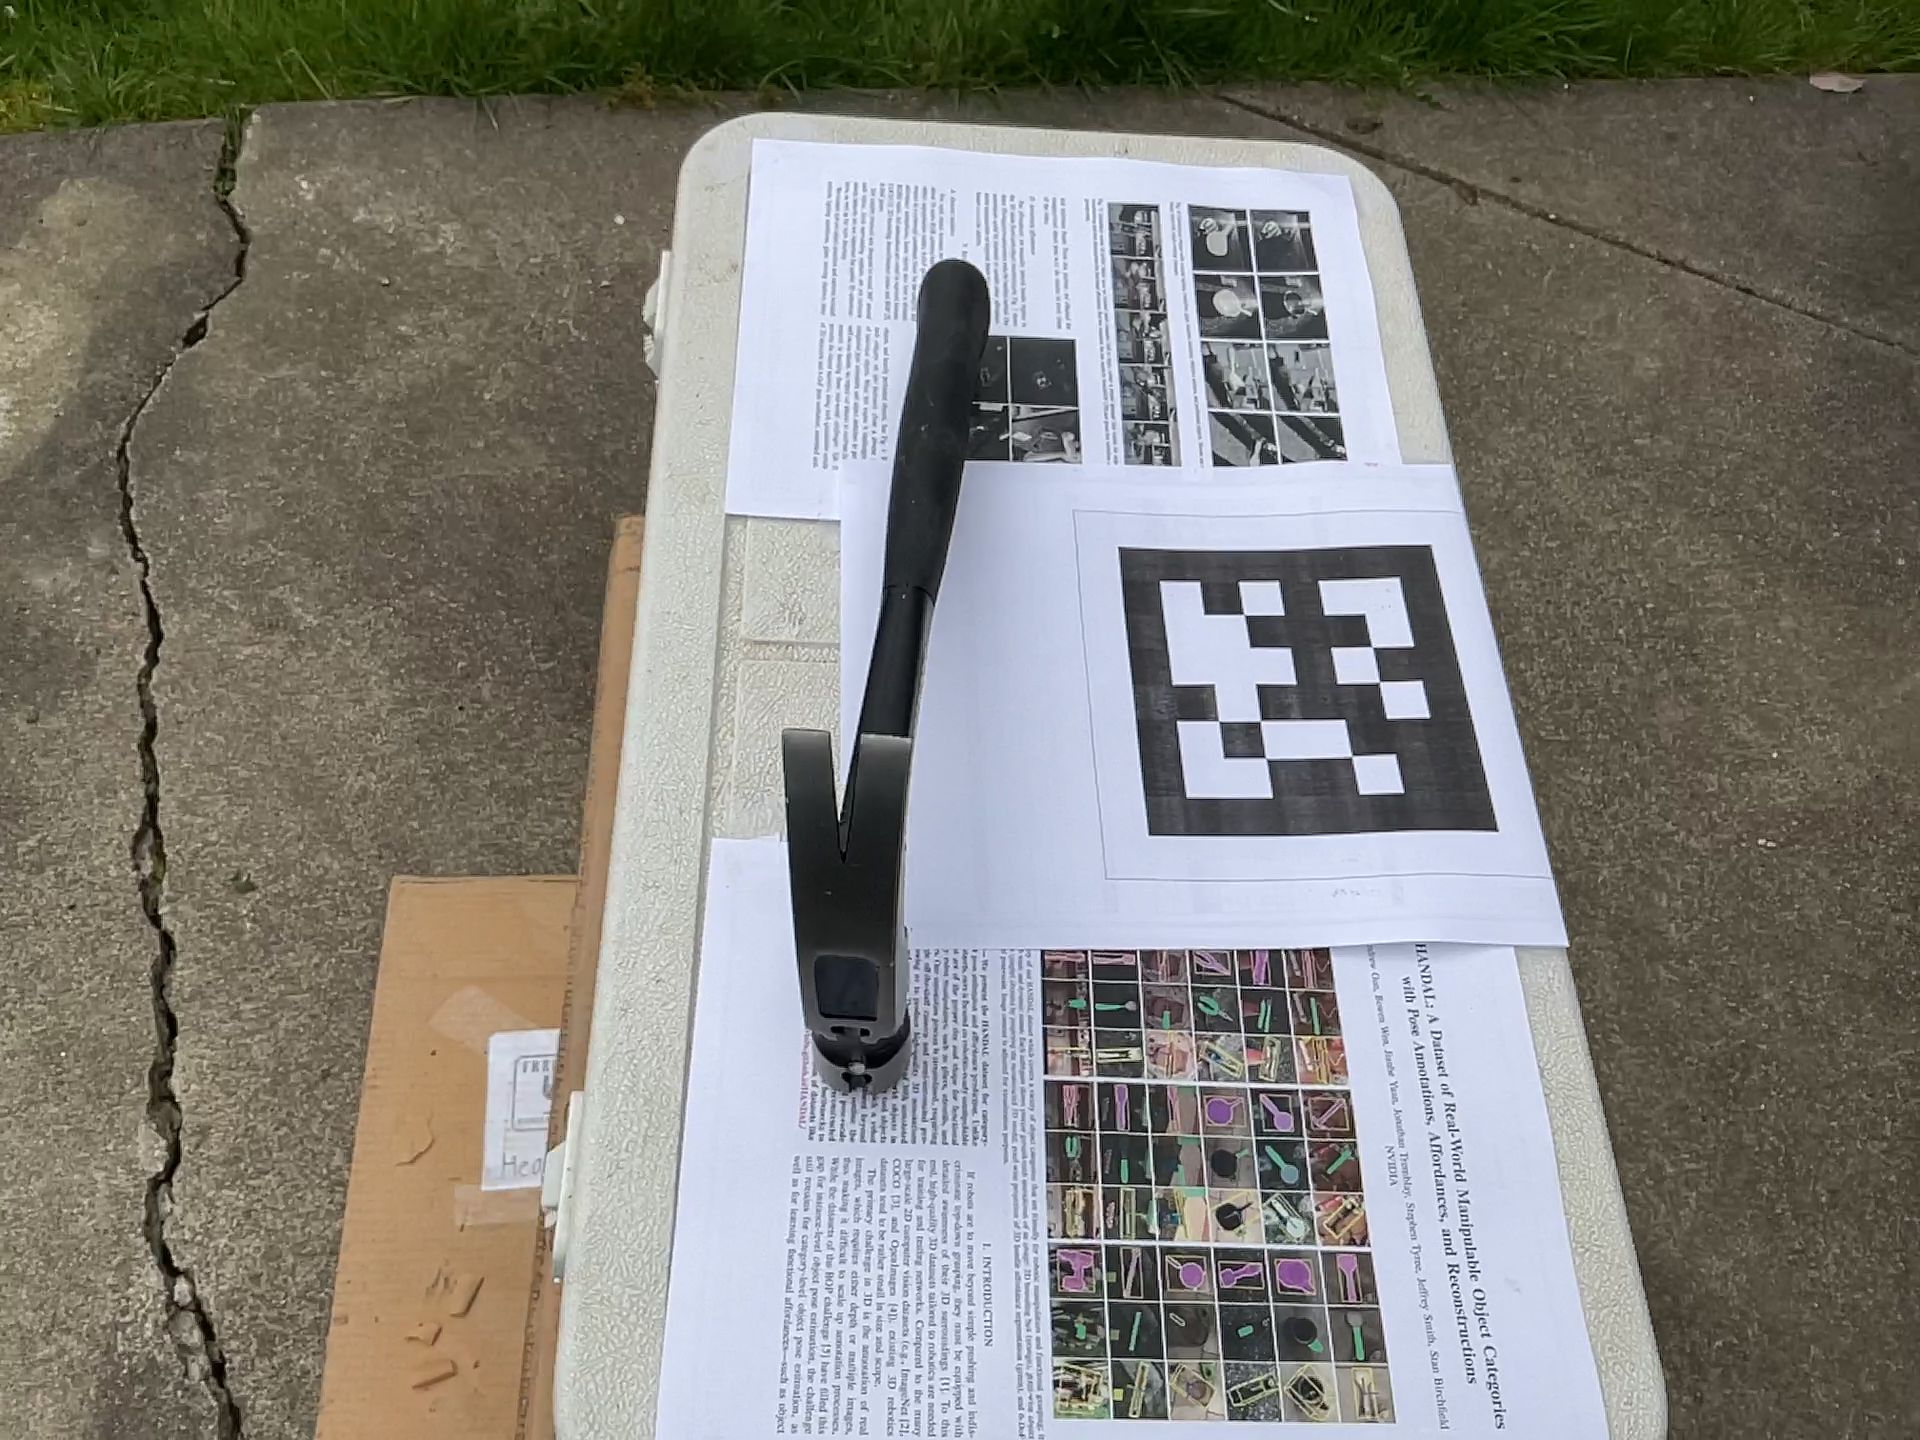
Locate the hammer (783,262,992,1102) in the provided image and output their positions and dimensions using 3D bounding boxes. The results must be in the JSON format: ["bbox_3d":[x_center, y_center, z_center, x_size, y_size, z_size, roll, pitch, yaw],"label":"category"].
[{"bbox_3d":[-0.017,-0.052,0.556,0.035,0.146,0.335,4,50,3],"label":"hammer"}]
